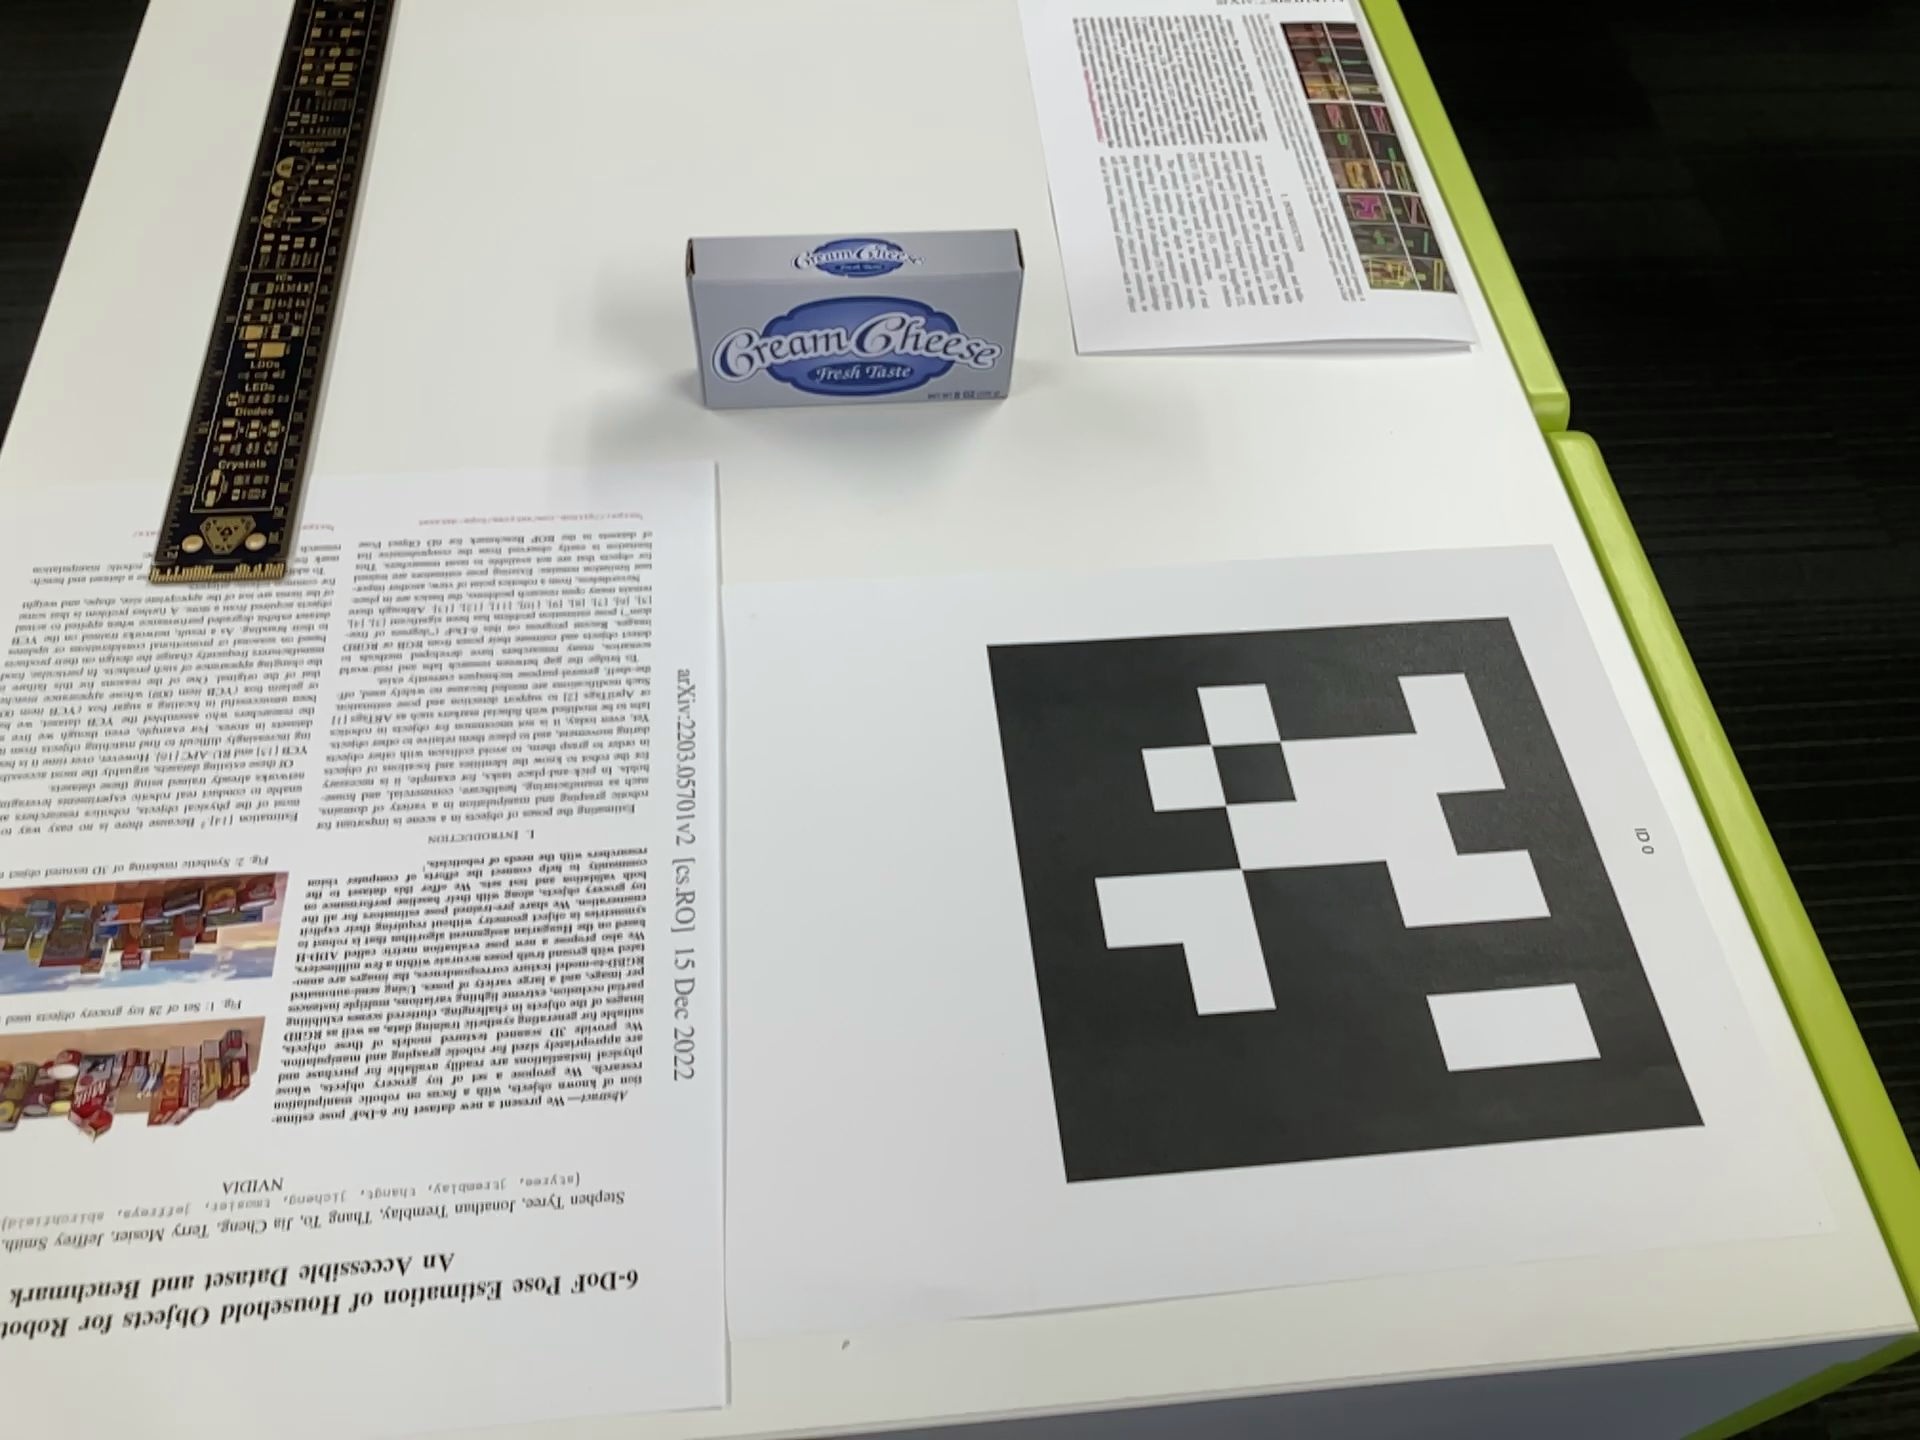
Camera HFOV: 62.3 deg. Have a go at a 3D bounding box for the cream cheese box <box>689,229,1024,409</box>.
[{"bbox_3d":[-0.033,-0.130,0.515,0.104,0.053,0.024,-3,54,-6],"label":"cream cheese box"}]
